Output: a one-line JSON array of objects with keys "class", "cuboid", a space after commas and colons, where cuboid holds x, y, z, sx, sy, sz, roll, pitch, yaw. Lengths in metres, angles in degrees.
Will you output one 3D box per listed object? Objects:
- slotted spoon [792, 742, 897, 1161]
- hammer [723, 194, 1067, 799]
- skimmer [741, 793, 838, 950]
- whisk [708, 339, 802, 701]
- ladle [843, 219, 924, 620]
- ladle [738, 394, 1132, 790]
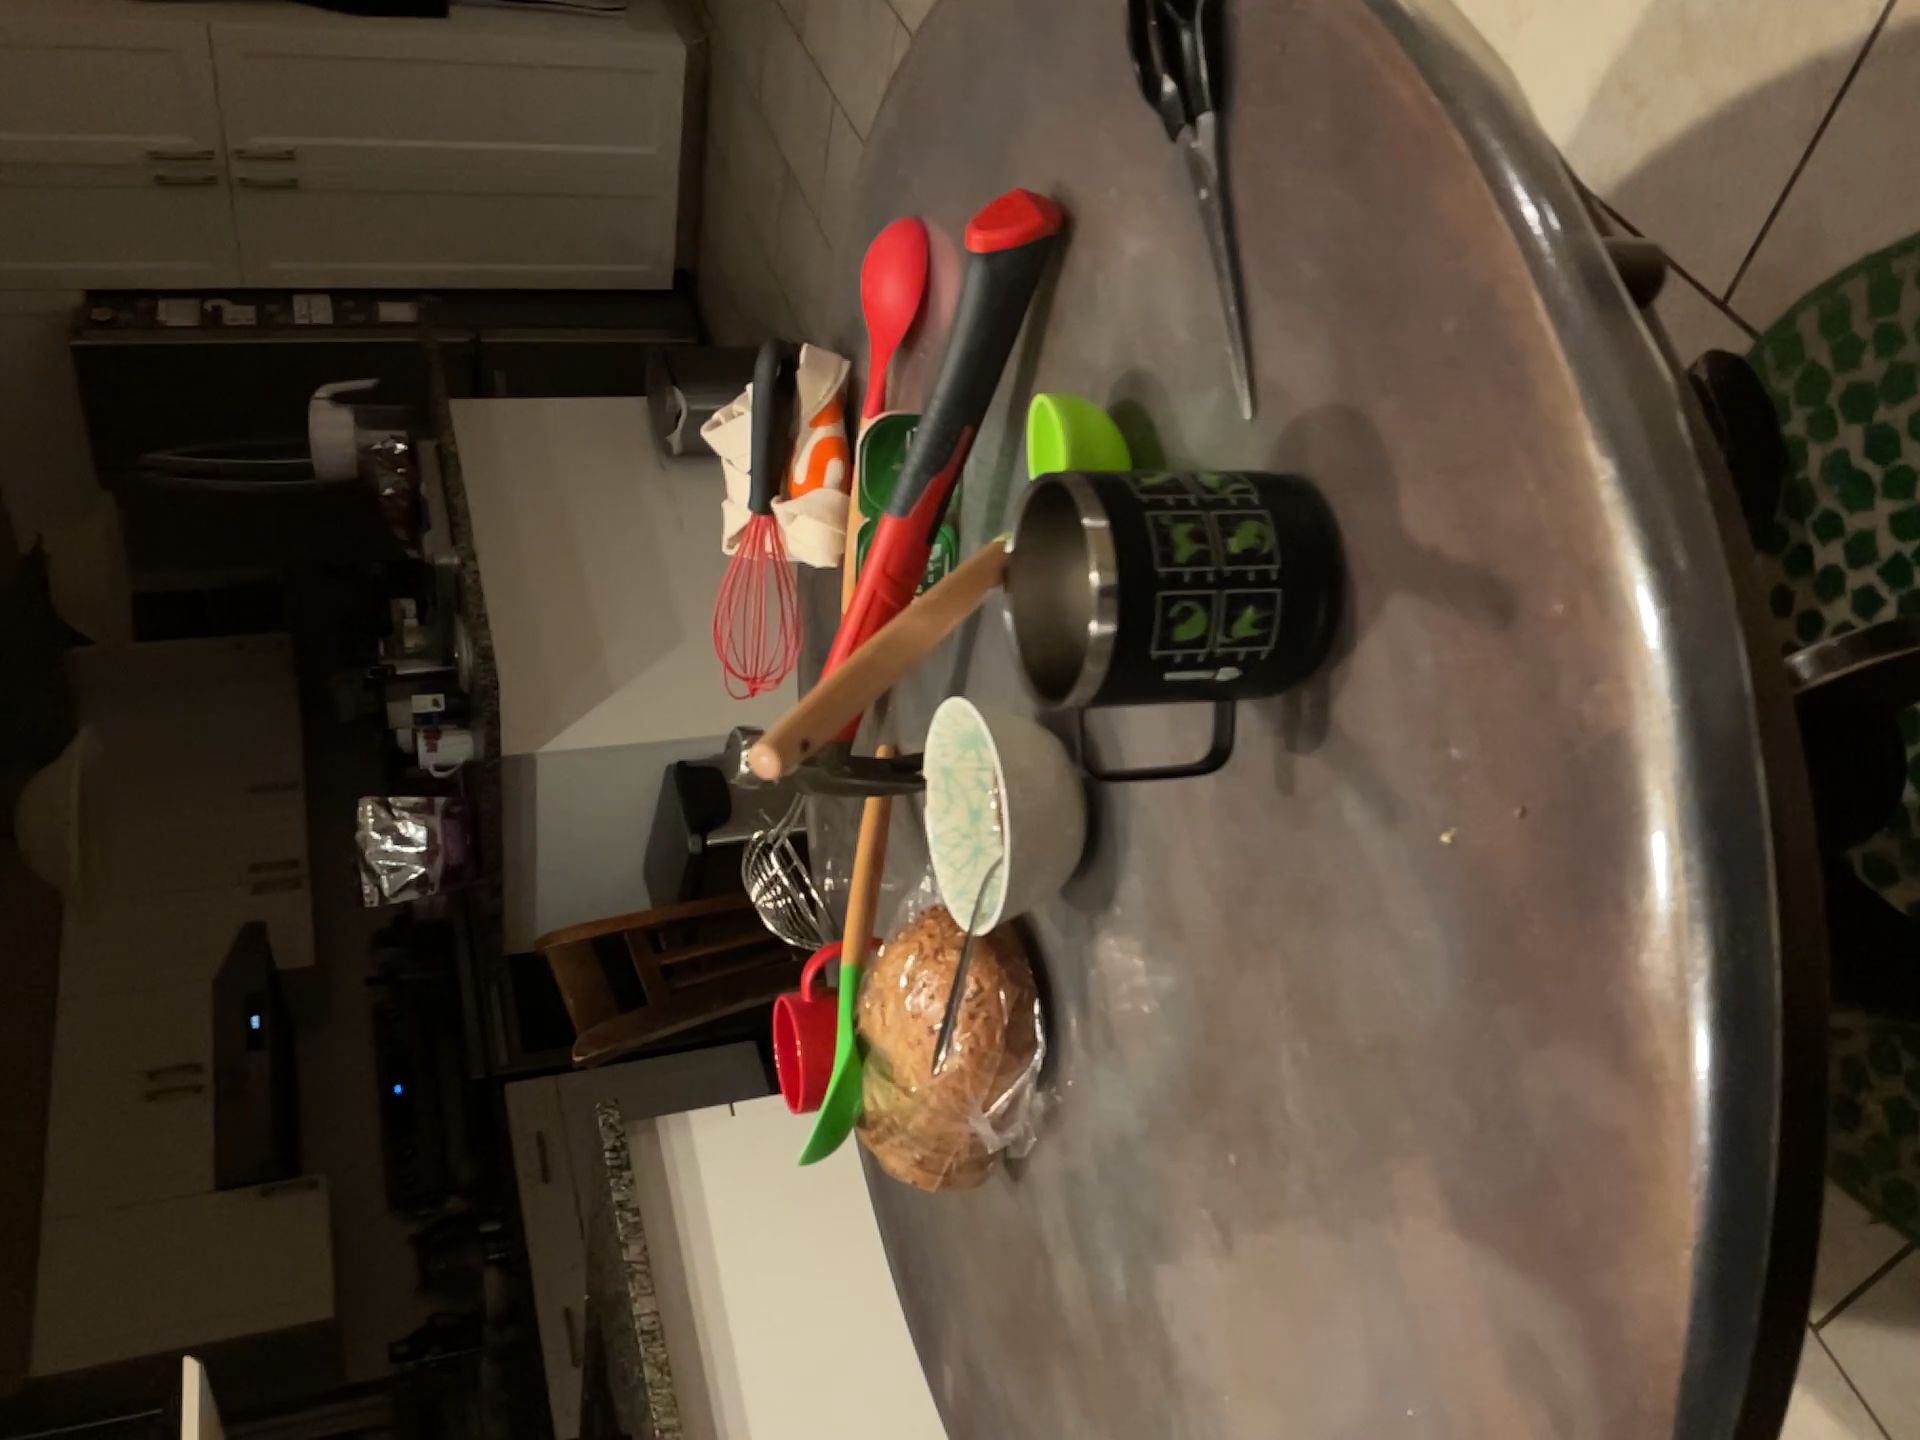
[{"class": "slotted spoon", "cuboid": [-0.065, 0.134, 1.003, 0.070, 0.031, 0.314, 115, 167, -47]}, {"class": "hammer", "cuboid": [-0.014, -0.104, 0.889, 0.386, 0.143, 0.038, -65, 35, 34]}, {"class": "skimmer", "cuboid": [-0.085, 0.039, 1.182, 0.127, 0.090, 0.363, 60, 139, 33]}, {"class": "whisk", "cuboid": [-0.146, -0.139, 1.166, 0.073, 0.073, 0.295, -118, 30, -49]}, {"class": "ladle", "cuboid": [-0.060, -0.184, 1.065, 0.069, 0.031, 0.315, -115, 26, -44]}, {"class": "ladle", "cuboid": [-0.005, -0.055, 0.627, 0.062, 0.320, 0.078, 6, 119, 26]}]
